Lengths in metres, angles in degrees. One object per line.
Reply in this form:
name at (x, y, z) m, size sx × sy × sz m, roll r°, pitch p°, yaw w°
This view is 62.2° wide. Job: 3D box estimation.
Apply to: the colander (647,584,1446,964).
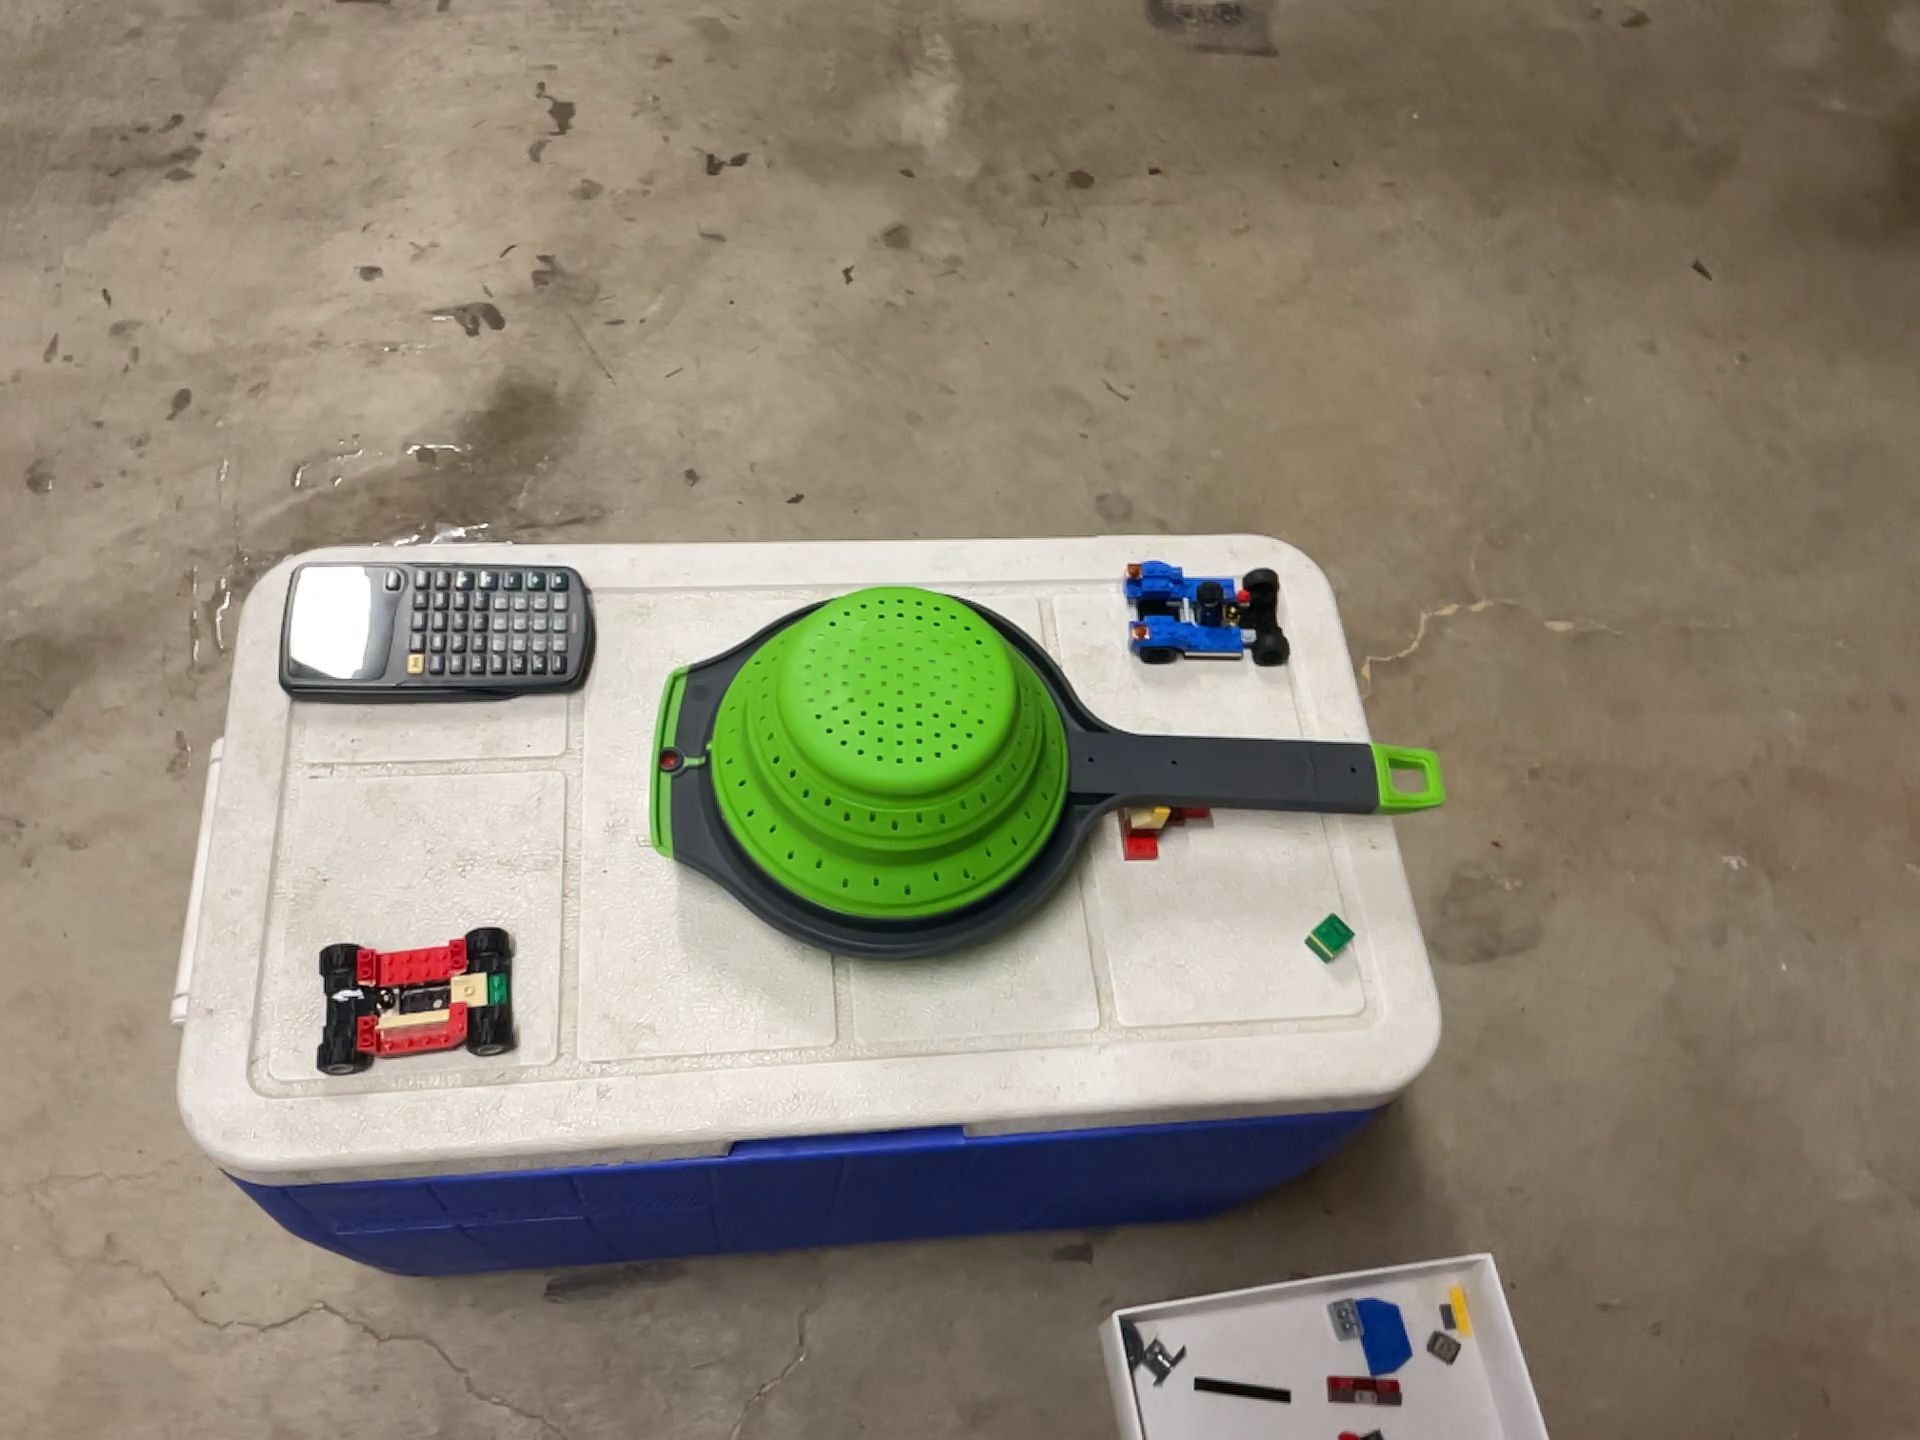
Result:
colander at (0.050, 0.006, 0.761) m, size 0.397 × 0.094 × 0.205 m, roll 2°, pitch 61°, yaw -5°
